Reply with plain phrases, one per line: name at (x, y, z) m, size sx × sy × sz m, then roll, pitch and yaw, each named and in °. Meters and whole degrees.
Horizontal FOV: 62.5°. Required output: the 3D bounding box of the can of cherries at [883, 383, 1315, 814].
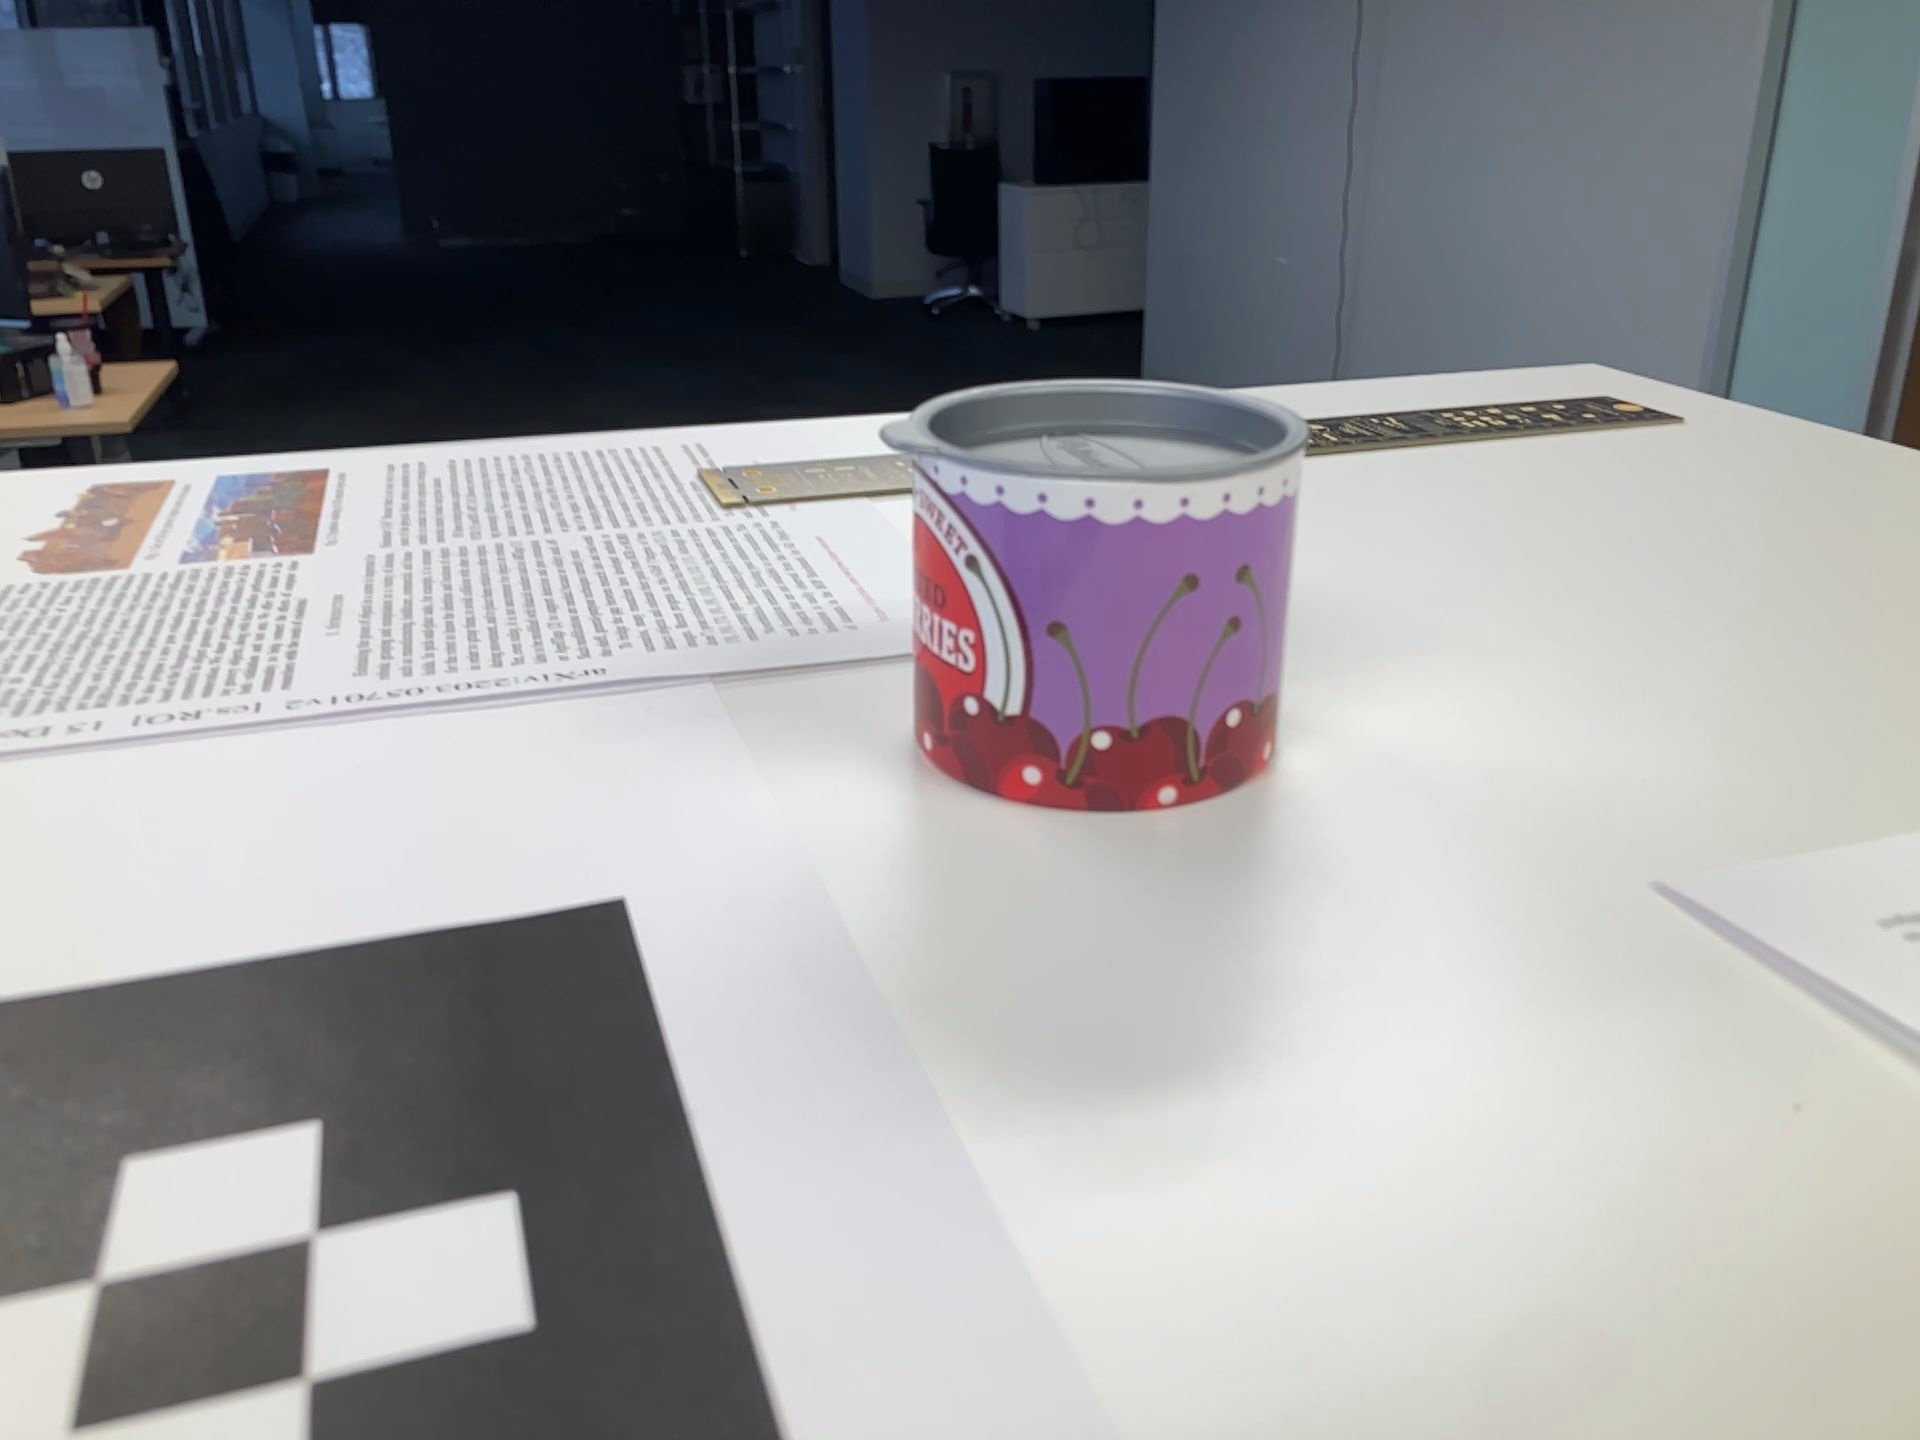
can of cherries at (0.022, -0.023, 0.271) m, size 0.071 × 0.058 × 0.071 m, roll 0°, pitch 23°, yaw 0°
